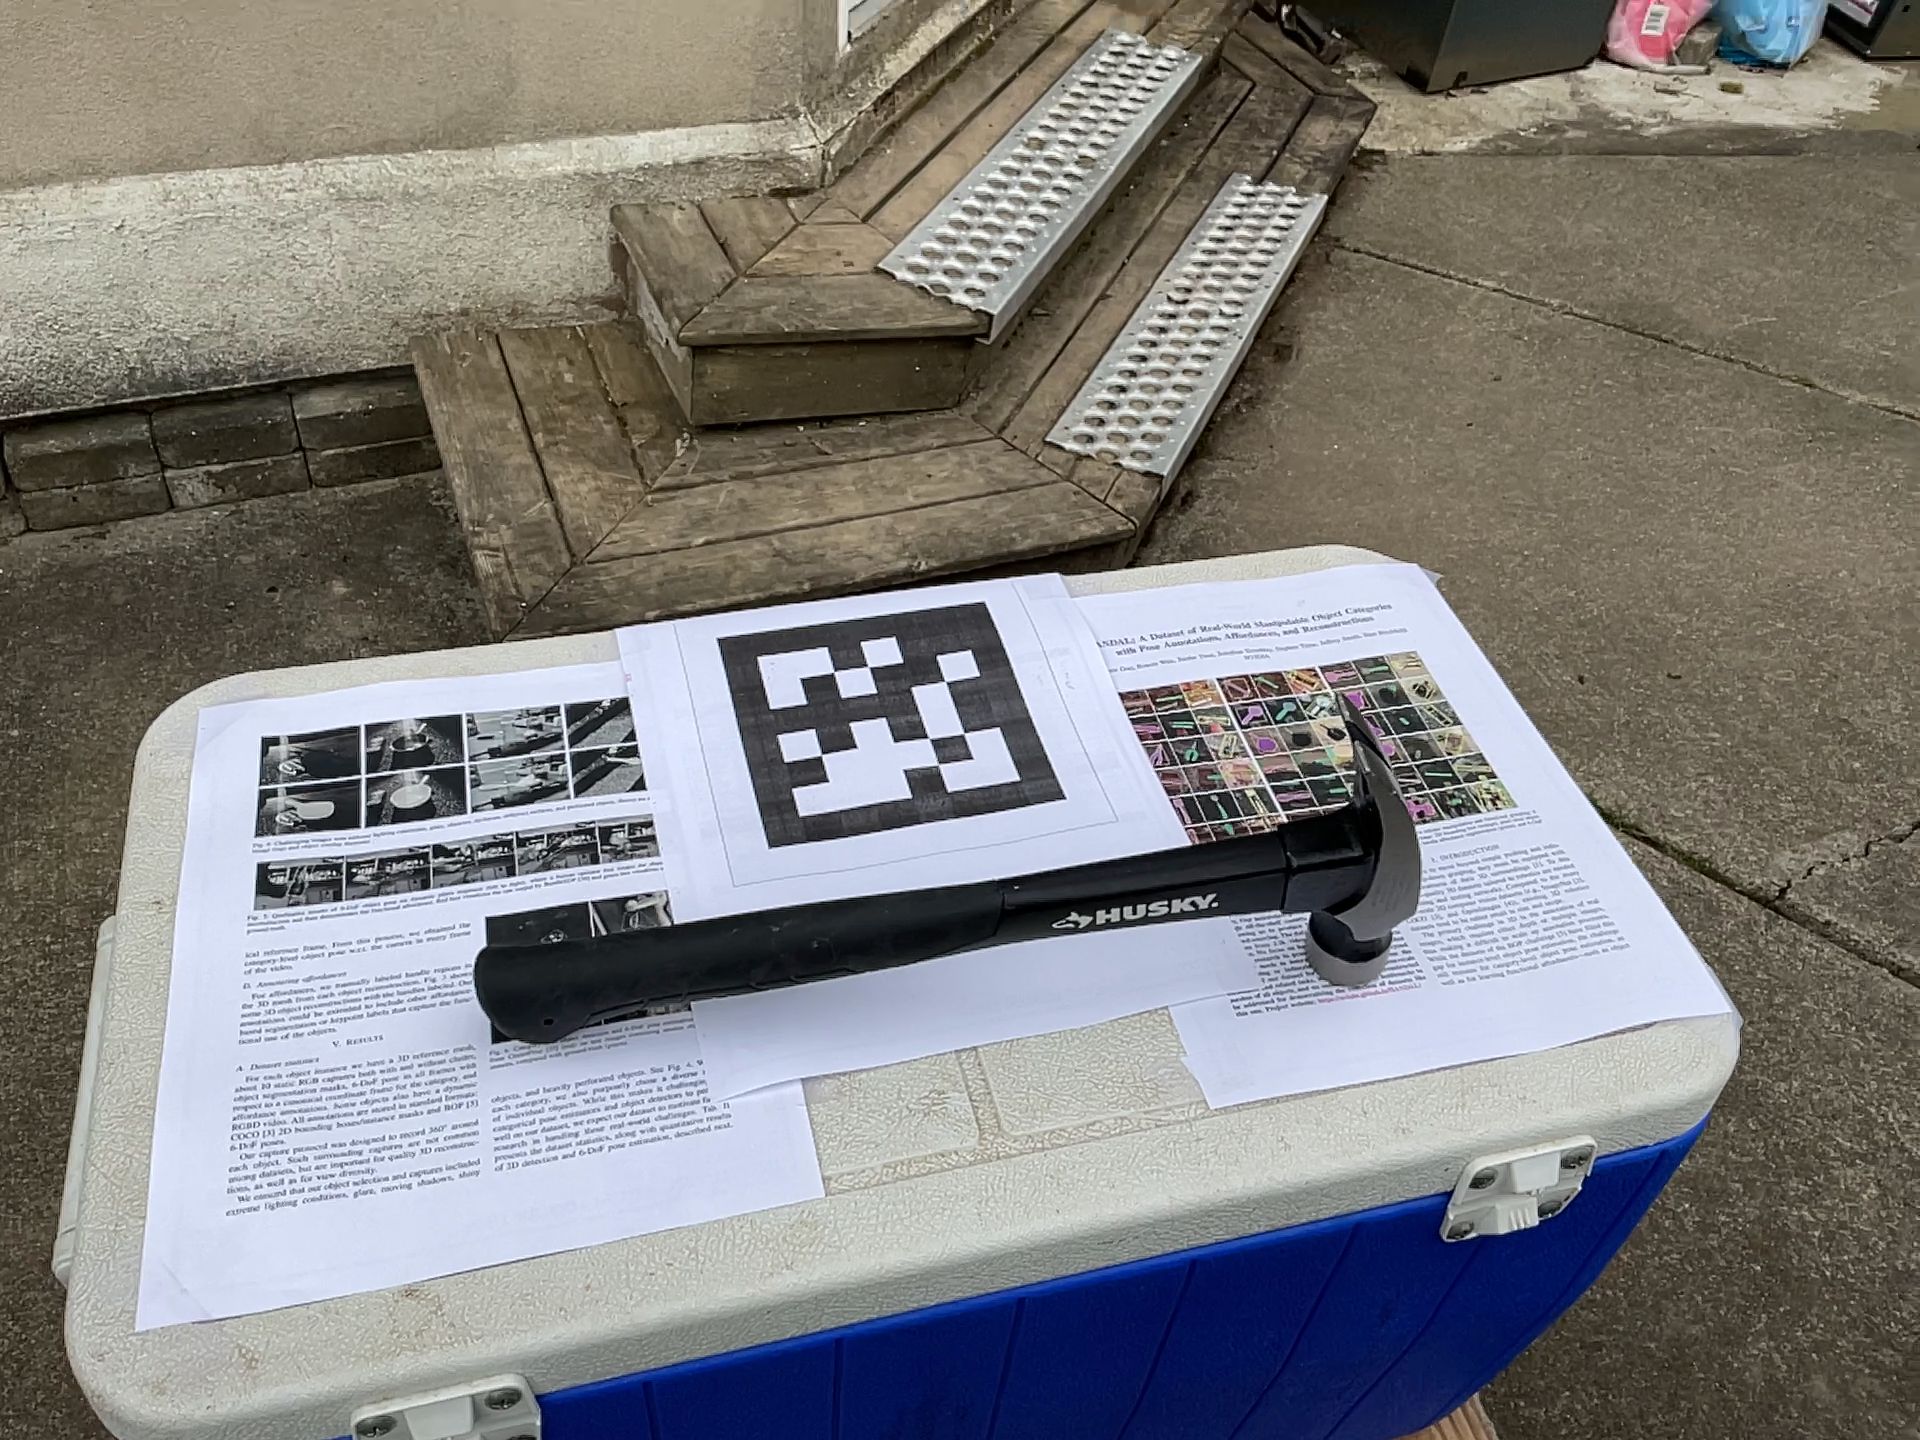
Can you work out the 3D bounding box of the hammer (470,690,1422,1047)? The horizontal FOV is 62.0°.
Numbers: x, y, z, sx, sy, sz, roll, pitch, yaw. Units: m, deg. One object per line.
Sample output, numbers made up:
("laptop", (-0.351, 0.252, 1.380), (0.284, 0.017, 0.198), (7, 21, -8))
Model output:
("hammer", (-0.002, 0.069, 0.563), (0.334, 0.146, 0.035), (-8, 51, -2))
